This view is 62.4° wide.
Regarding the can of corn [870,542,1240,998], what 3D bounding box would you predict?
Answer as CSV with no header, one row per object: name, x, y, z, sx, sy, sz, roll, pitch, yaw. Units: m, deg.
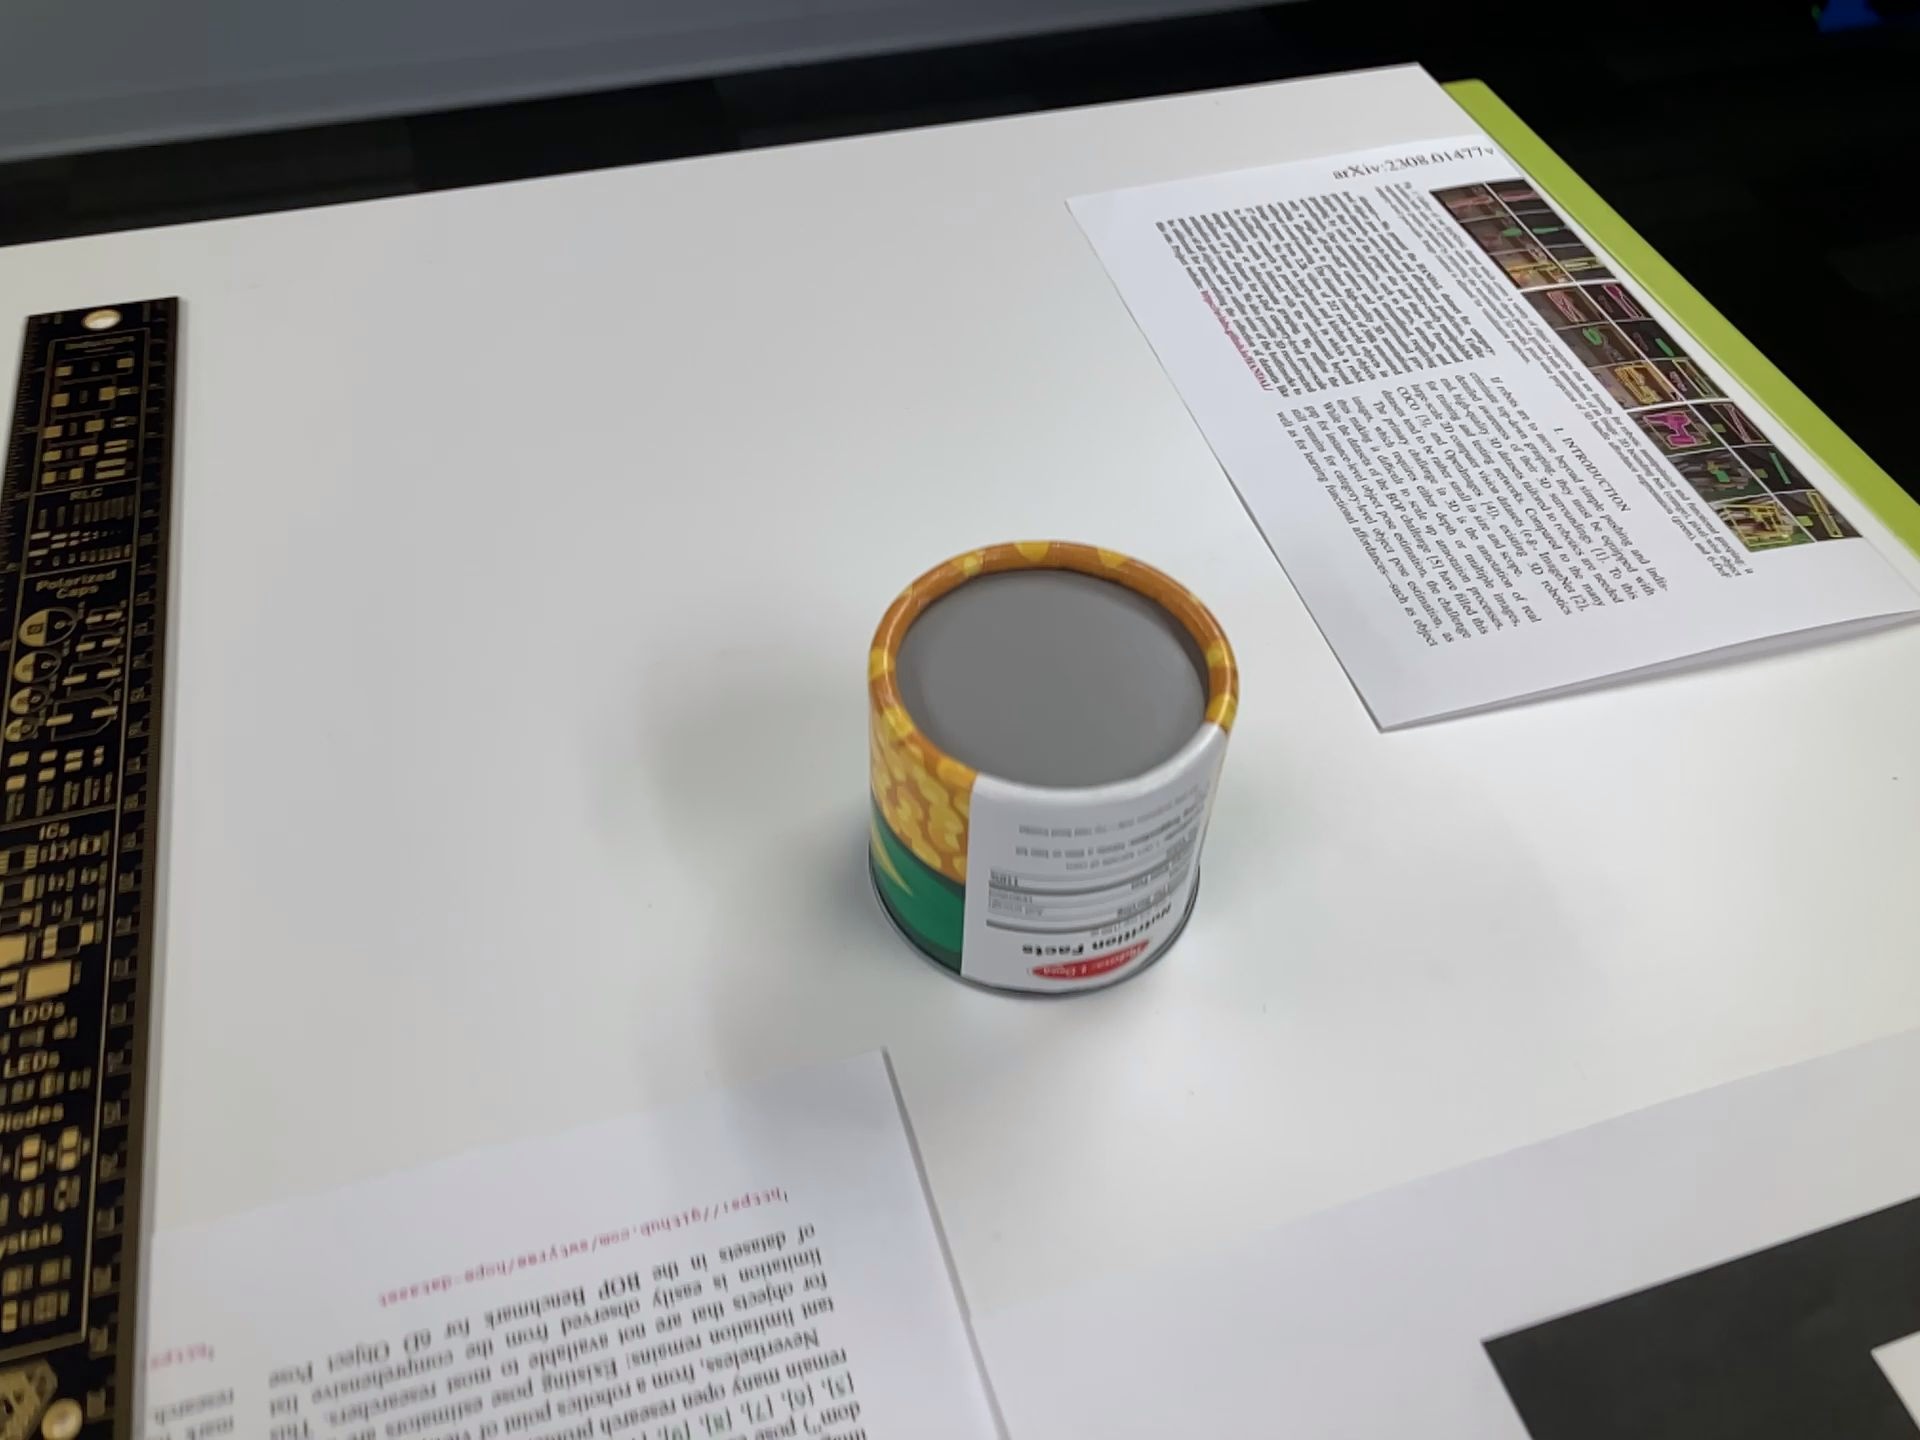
can of corn,0.015,0.007,0.301,0.071,0.058,0.071,1,49,-1
